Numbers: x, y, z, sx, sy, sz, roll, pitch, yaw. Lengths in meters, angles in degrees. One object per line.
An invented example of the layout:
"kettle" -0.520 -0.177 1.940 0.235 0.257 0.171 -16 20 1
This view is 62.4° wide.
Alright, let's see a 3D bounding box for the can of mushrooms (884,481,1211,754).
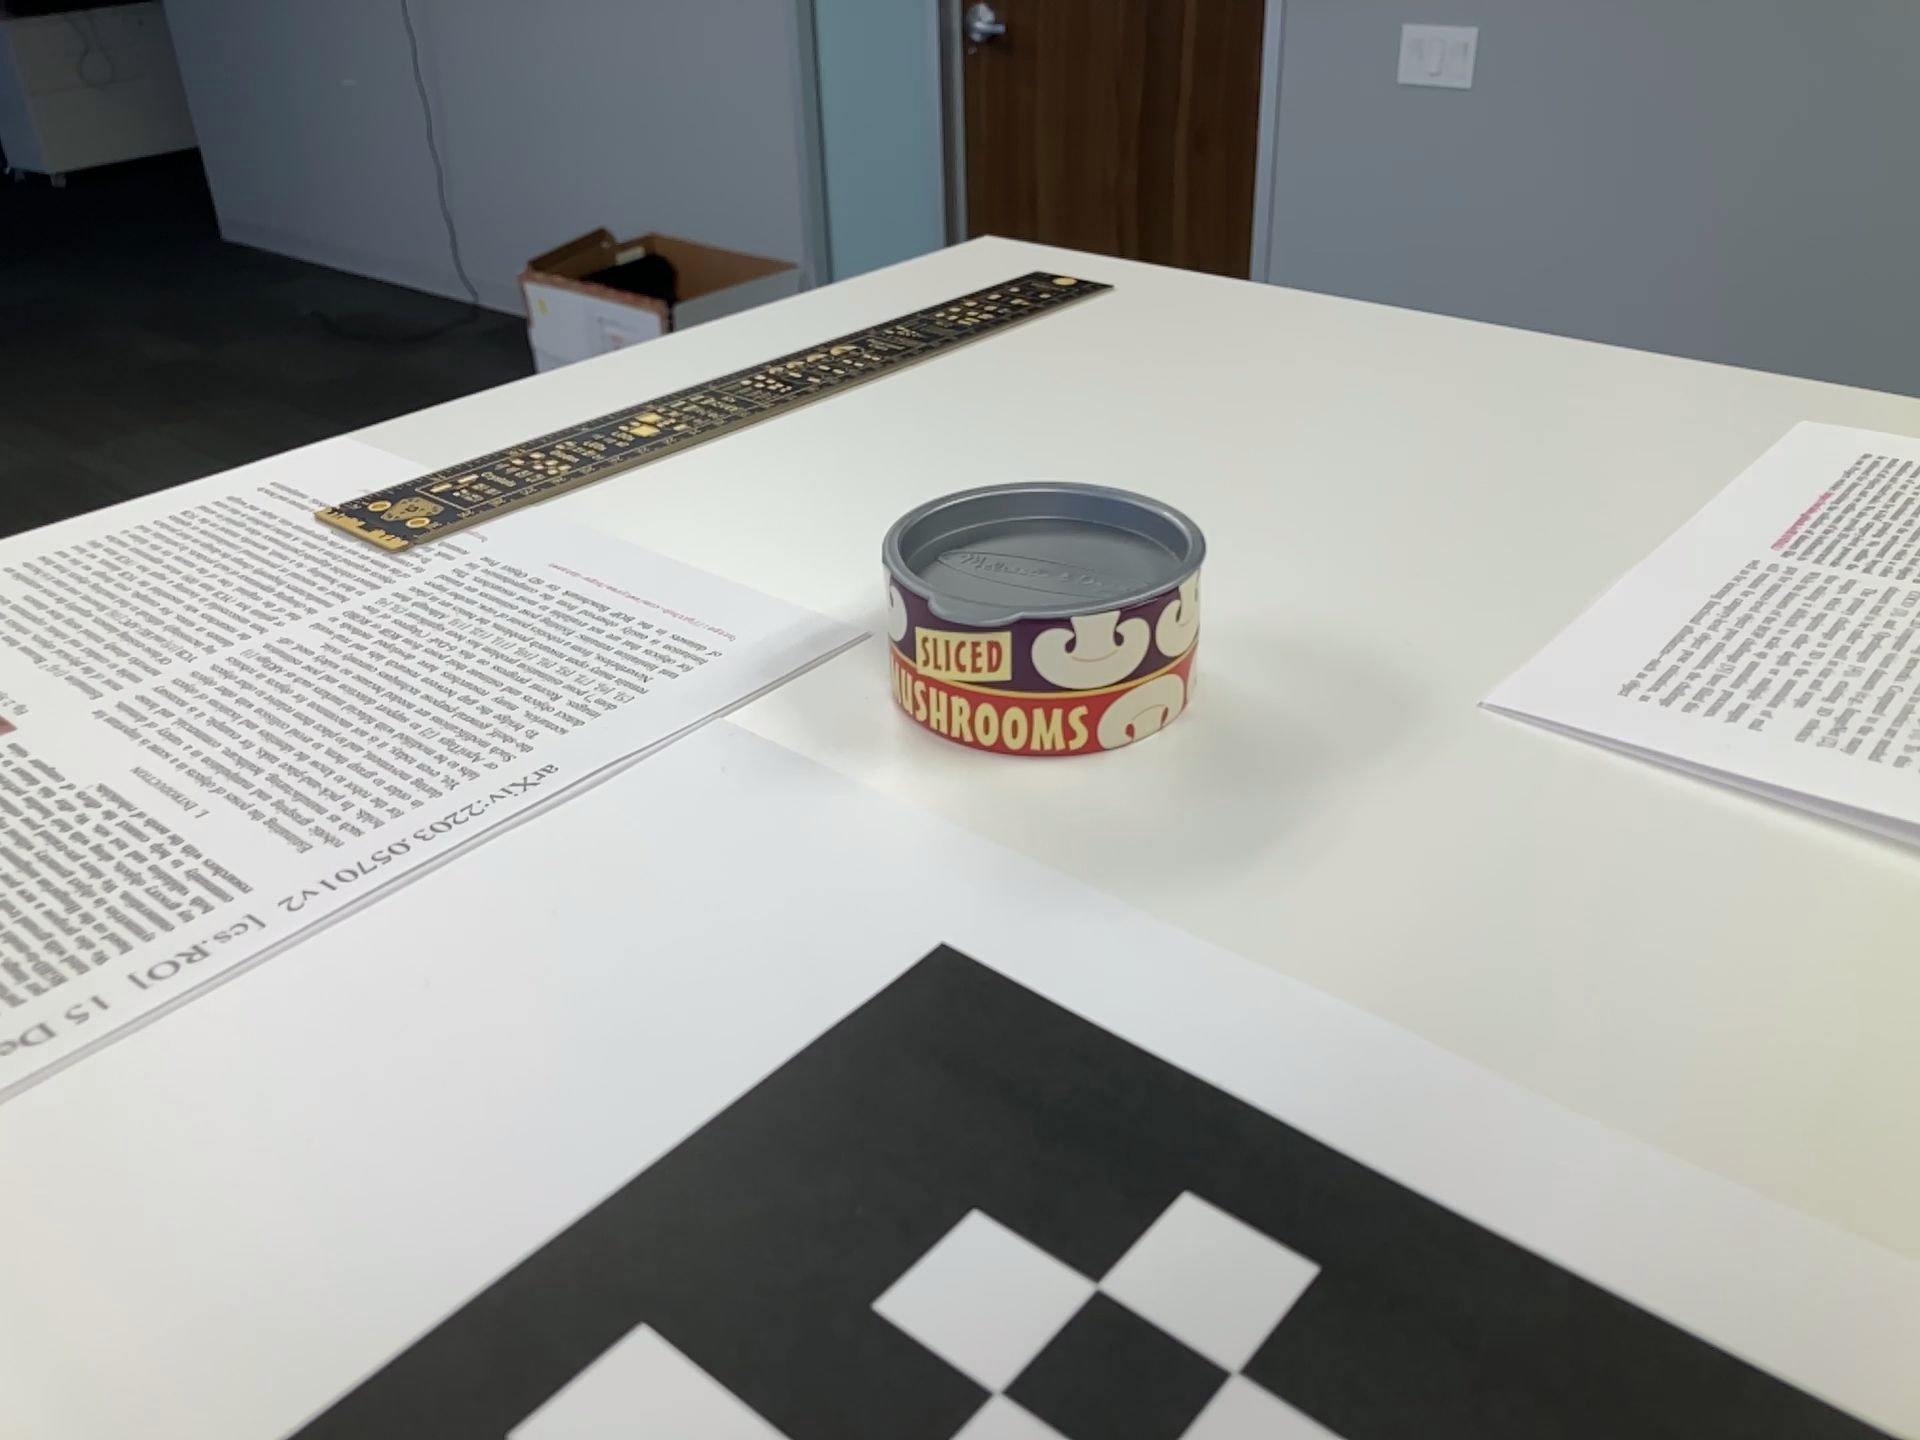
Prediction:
"can of mushrooms" 0.016 -0.022 0.327 0.071 0.033 0.071 0 30 0
